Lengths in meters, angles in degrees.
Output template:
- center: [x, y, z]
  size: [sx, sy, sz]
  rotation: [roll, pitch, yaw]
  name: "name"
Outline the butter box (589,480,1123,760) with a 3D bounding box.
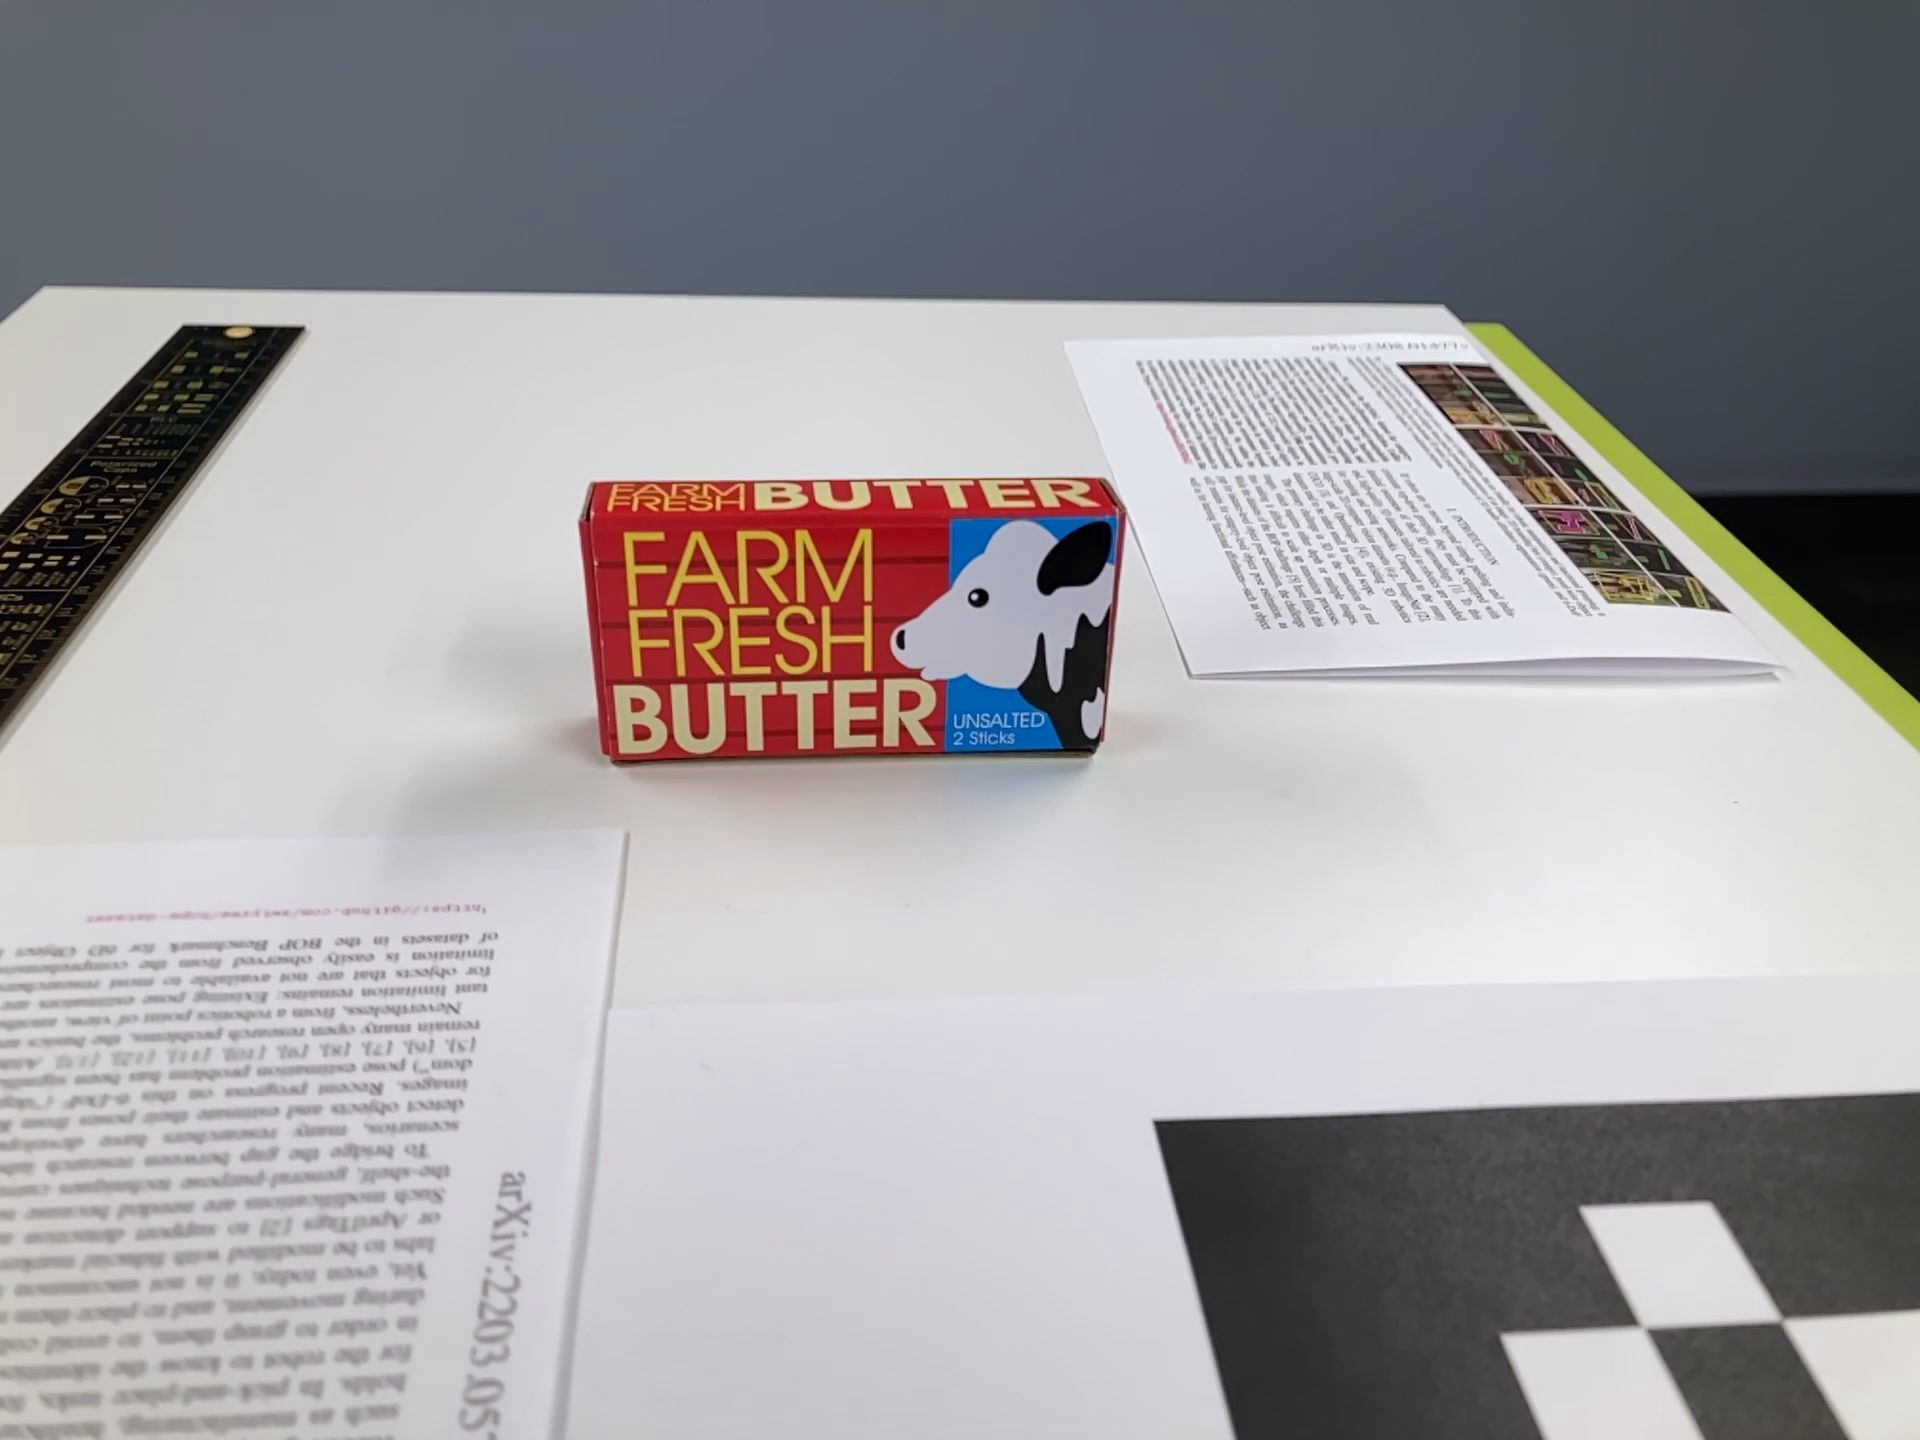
- center: [-0.021, -0.021, 0.322]
  size: [0.103, 0.053, 0.024]
  rotation: [-1, 28, -6]
  name: "butter box"
